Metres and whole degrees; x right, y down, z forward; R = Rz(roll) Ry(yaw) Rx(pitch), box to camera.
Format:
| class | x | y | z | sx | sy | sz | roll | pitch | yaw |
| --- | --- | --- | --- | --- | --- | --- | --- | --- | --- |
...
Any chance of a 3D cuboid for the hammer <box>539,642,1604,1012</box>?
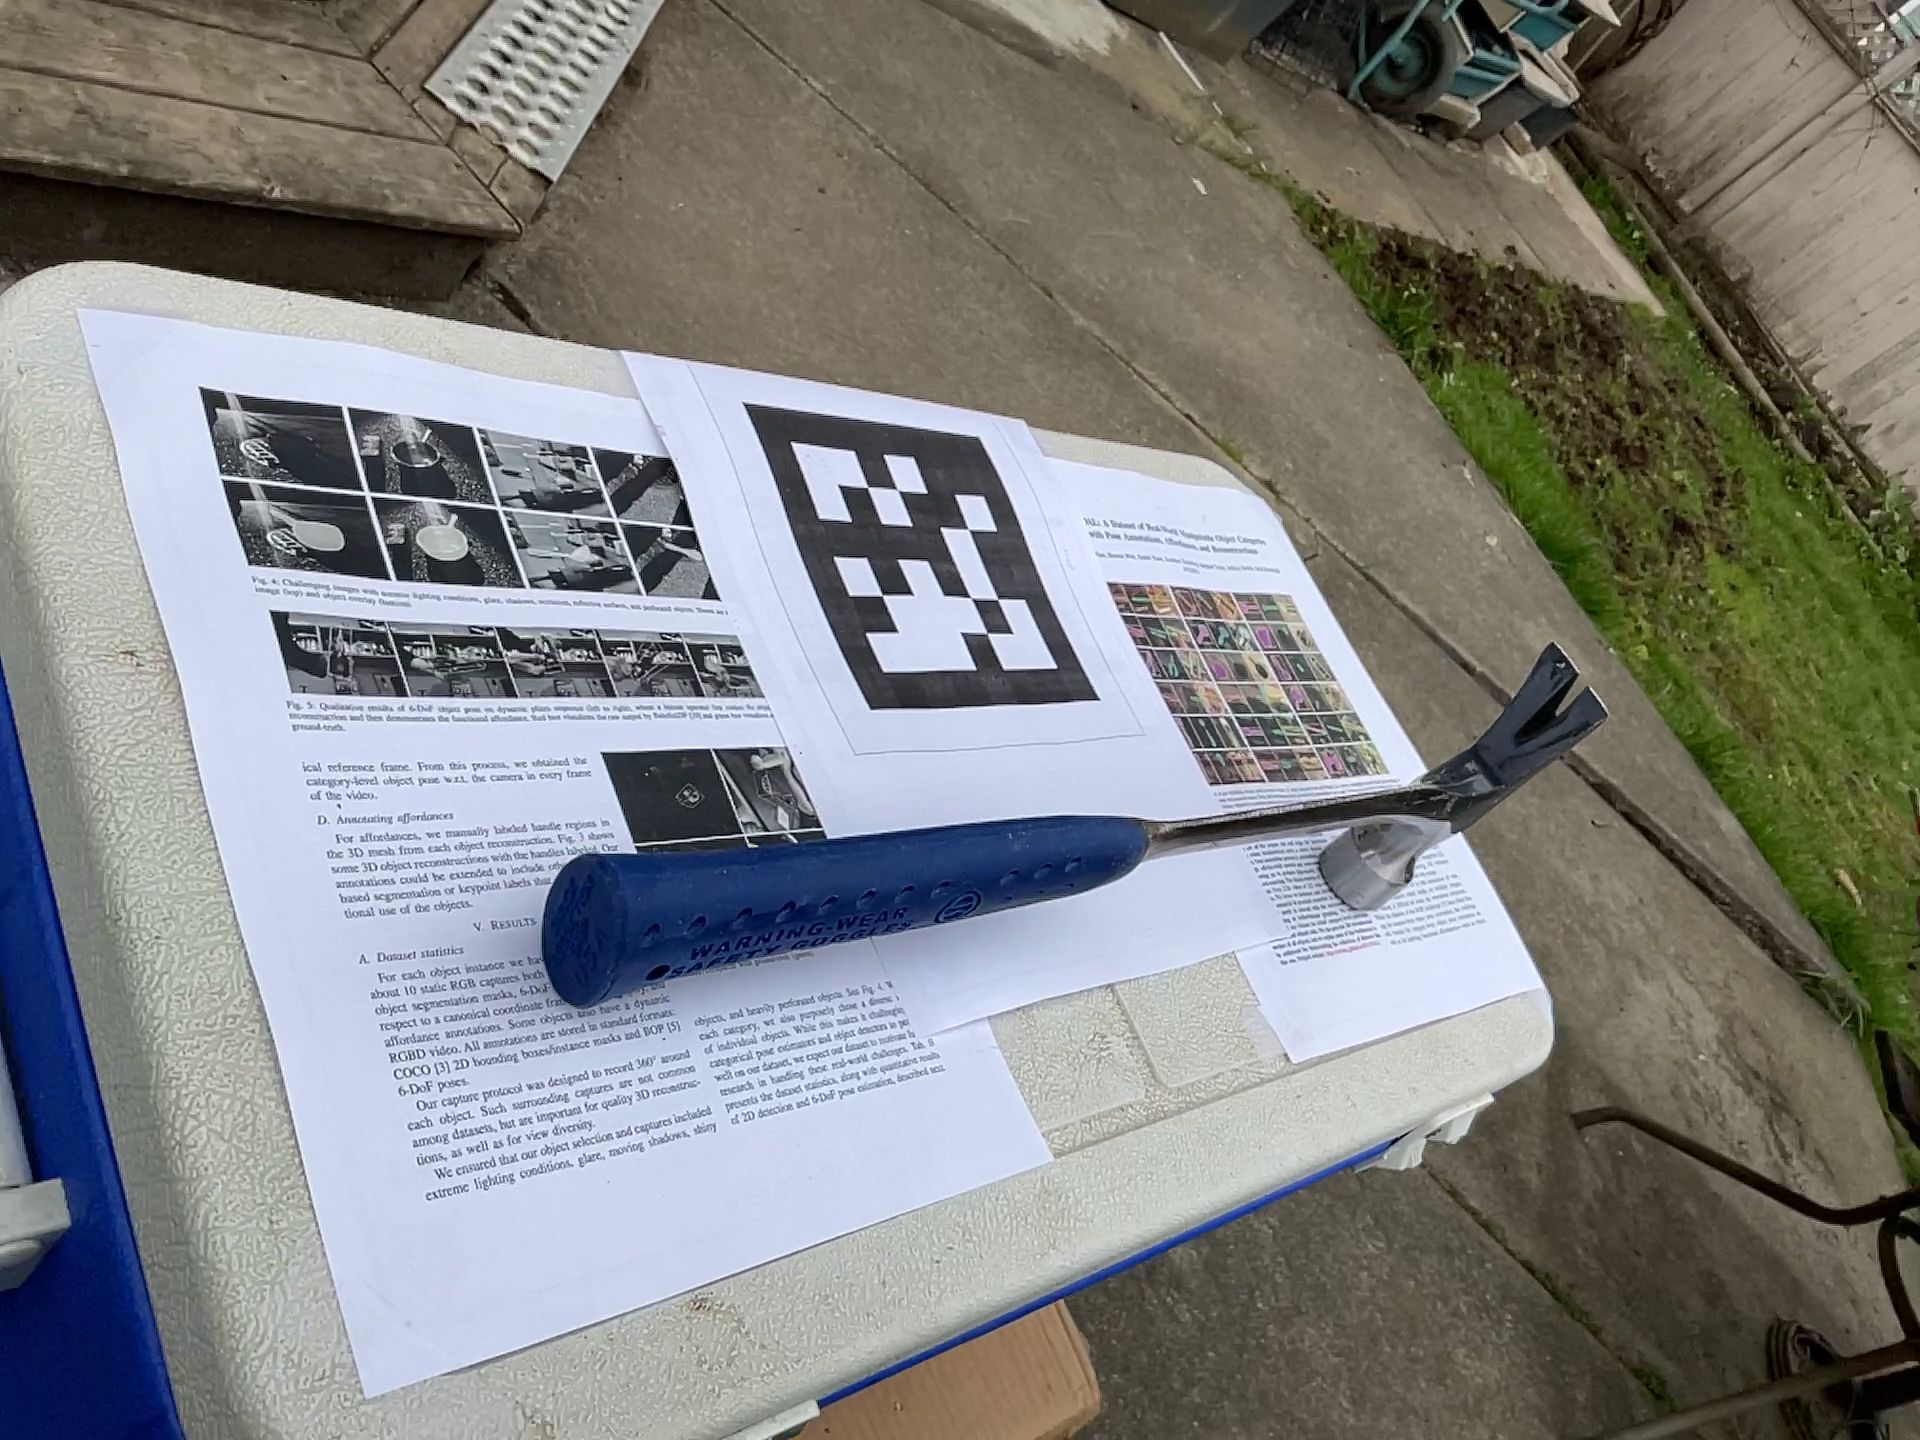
| class | x | y | z | sx | sy | sz | roll | pitch | yaw |
| --- | --- | --- | --- | --- | --- | --- | --- | --- | --- |
| hammer | 0.062 | 0.036 | 0.515 | 0.405 | 0.144 | 0.035 | -4 | 56 | -41 |
